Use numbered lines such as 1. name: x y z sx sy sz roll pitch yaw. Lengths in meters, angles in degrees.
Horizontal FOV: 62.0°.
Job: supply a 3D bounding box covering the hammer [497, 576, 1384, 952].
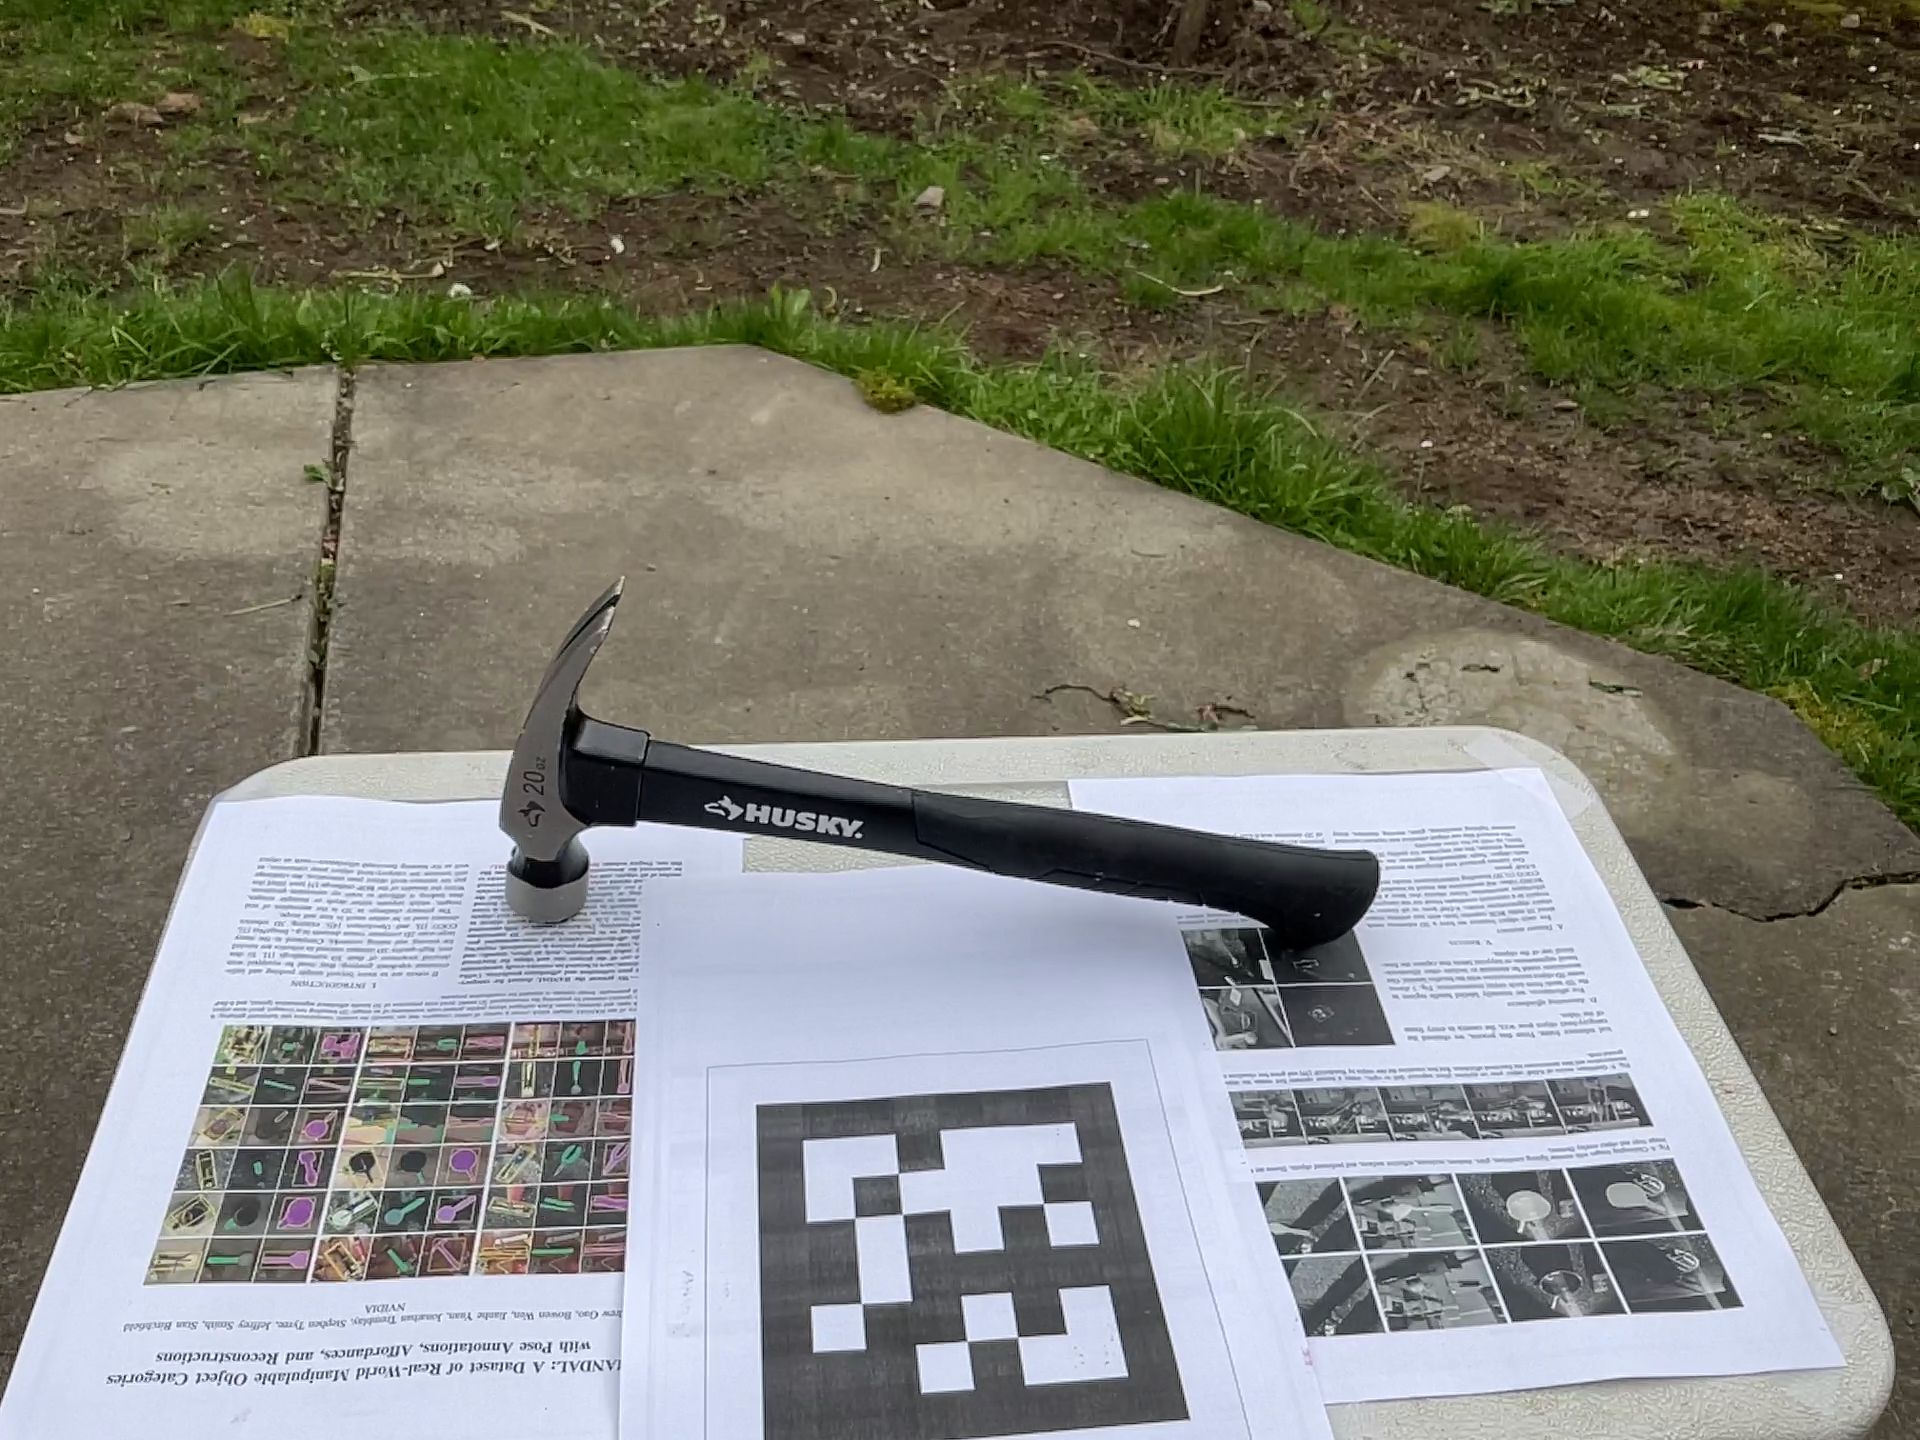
1. hammer: -0.002 0.039 0.606 0.334 0.146 0.035 10 36 -7
